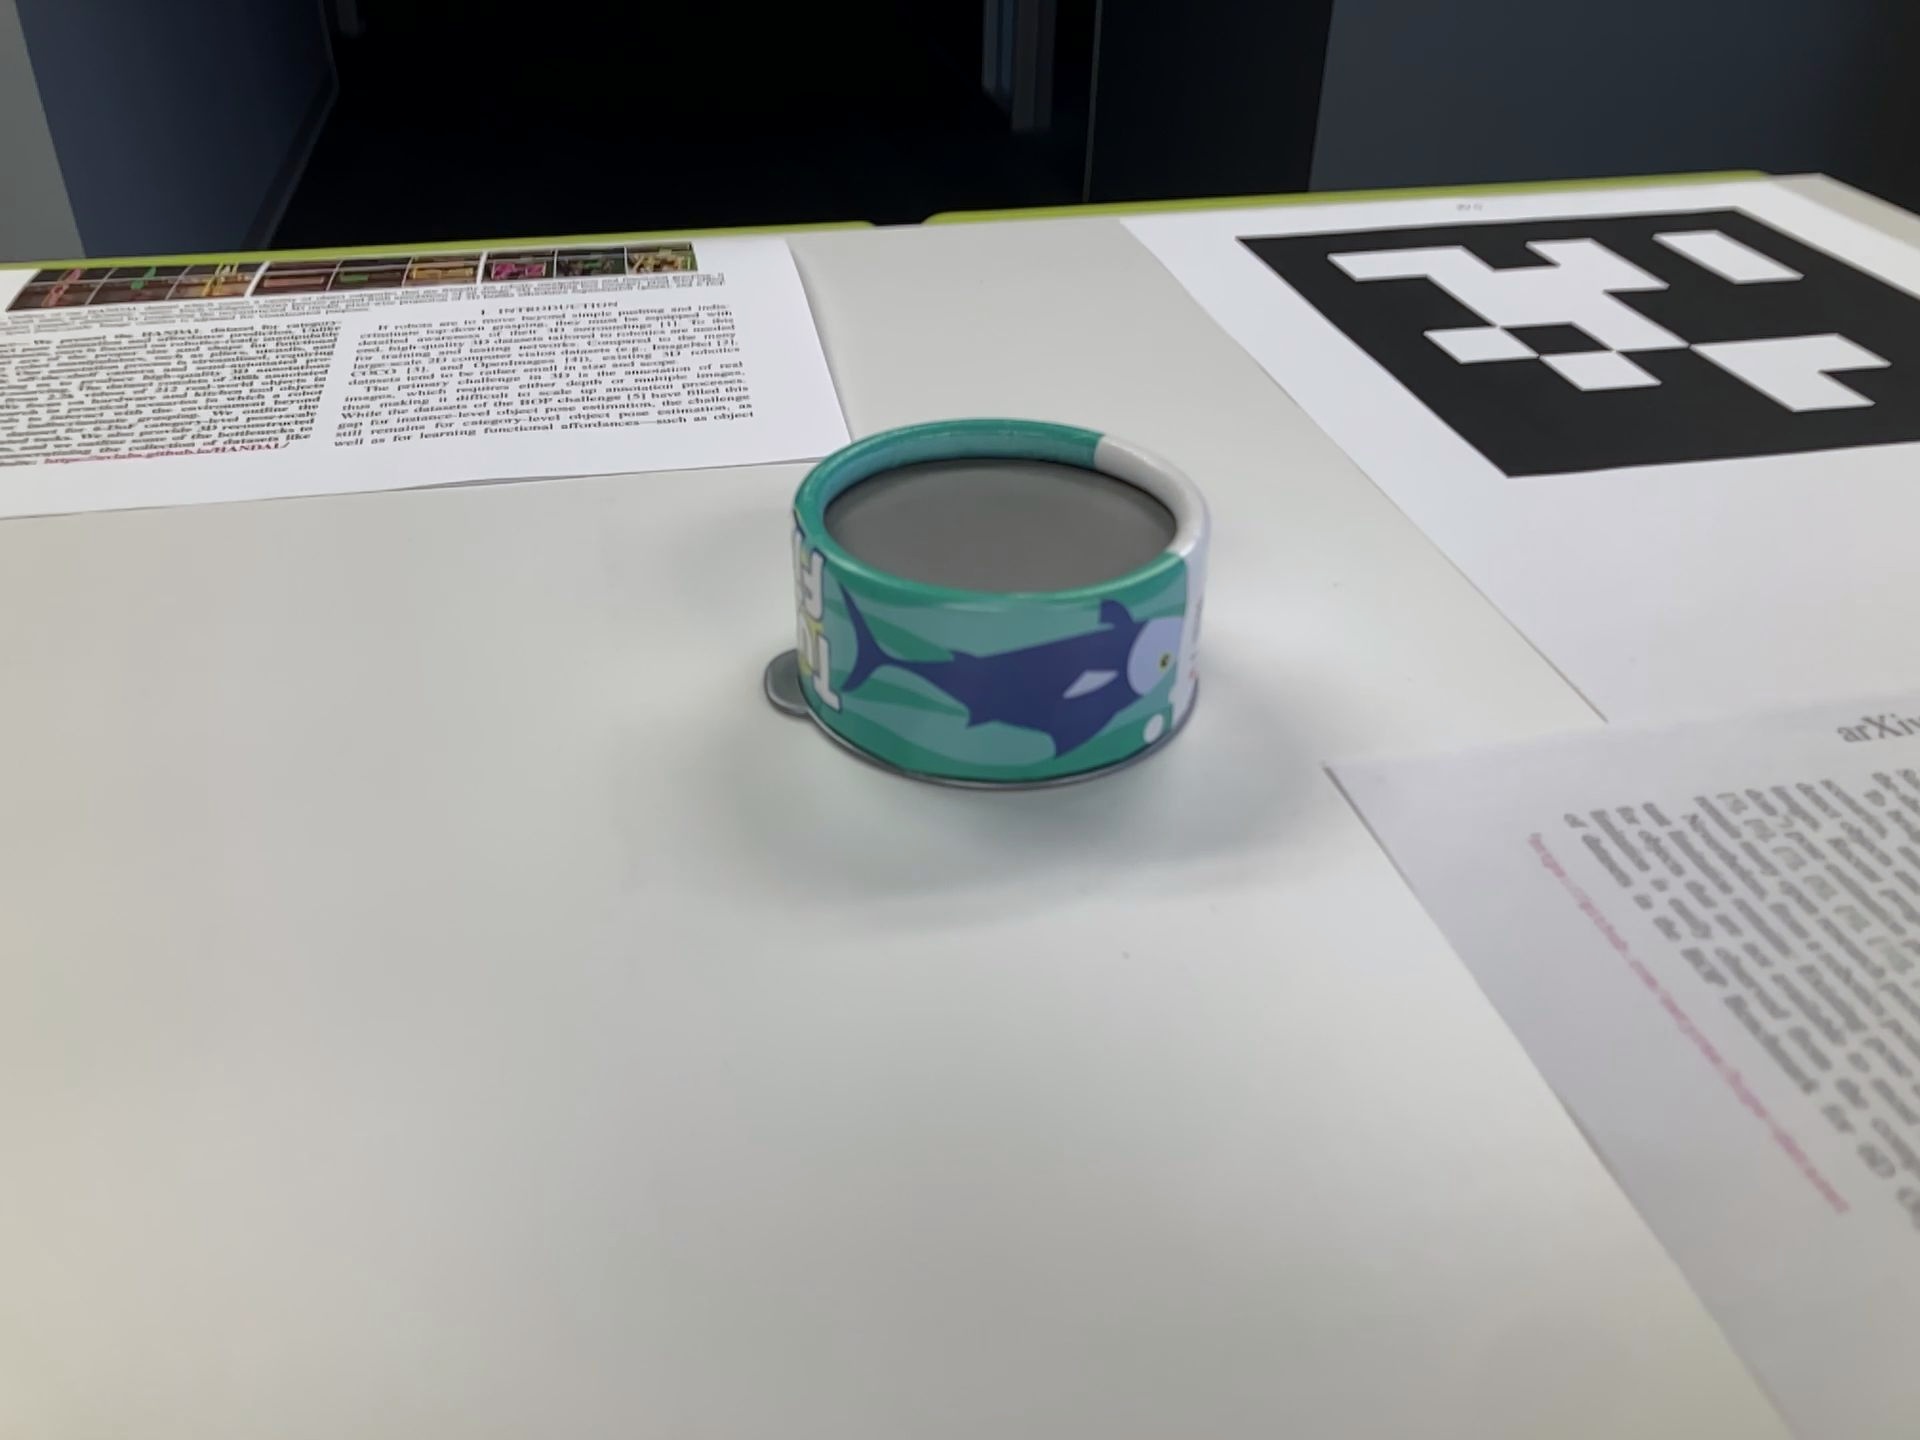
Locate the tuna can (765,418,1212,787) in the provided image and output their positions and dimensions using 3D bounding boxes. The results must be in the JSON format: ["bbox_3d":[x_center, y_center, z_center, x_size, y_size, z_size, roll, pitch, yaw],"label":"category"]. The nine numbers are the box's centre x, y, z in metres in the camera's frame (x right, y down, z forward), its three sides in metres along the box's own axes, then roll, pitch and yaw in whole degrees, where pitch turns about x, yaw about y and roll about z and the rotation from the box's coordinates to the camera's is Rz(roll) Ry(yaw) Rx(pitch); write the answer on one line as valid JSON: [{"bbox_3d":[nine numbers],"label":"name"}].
[{"bbox_3d":[0.004,-0.021,0.251,0.071,0.033,0.071,0,32,0],"label":"tuna can"}]
